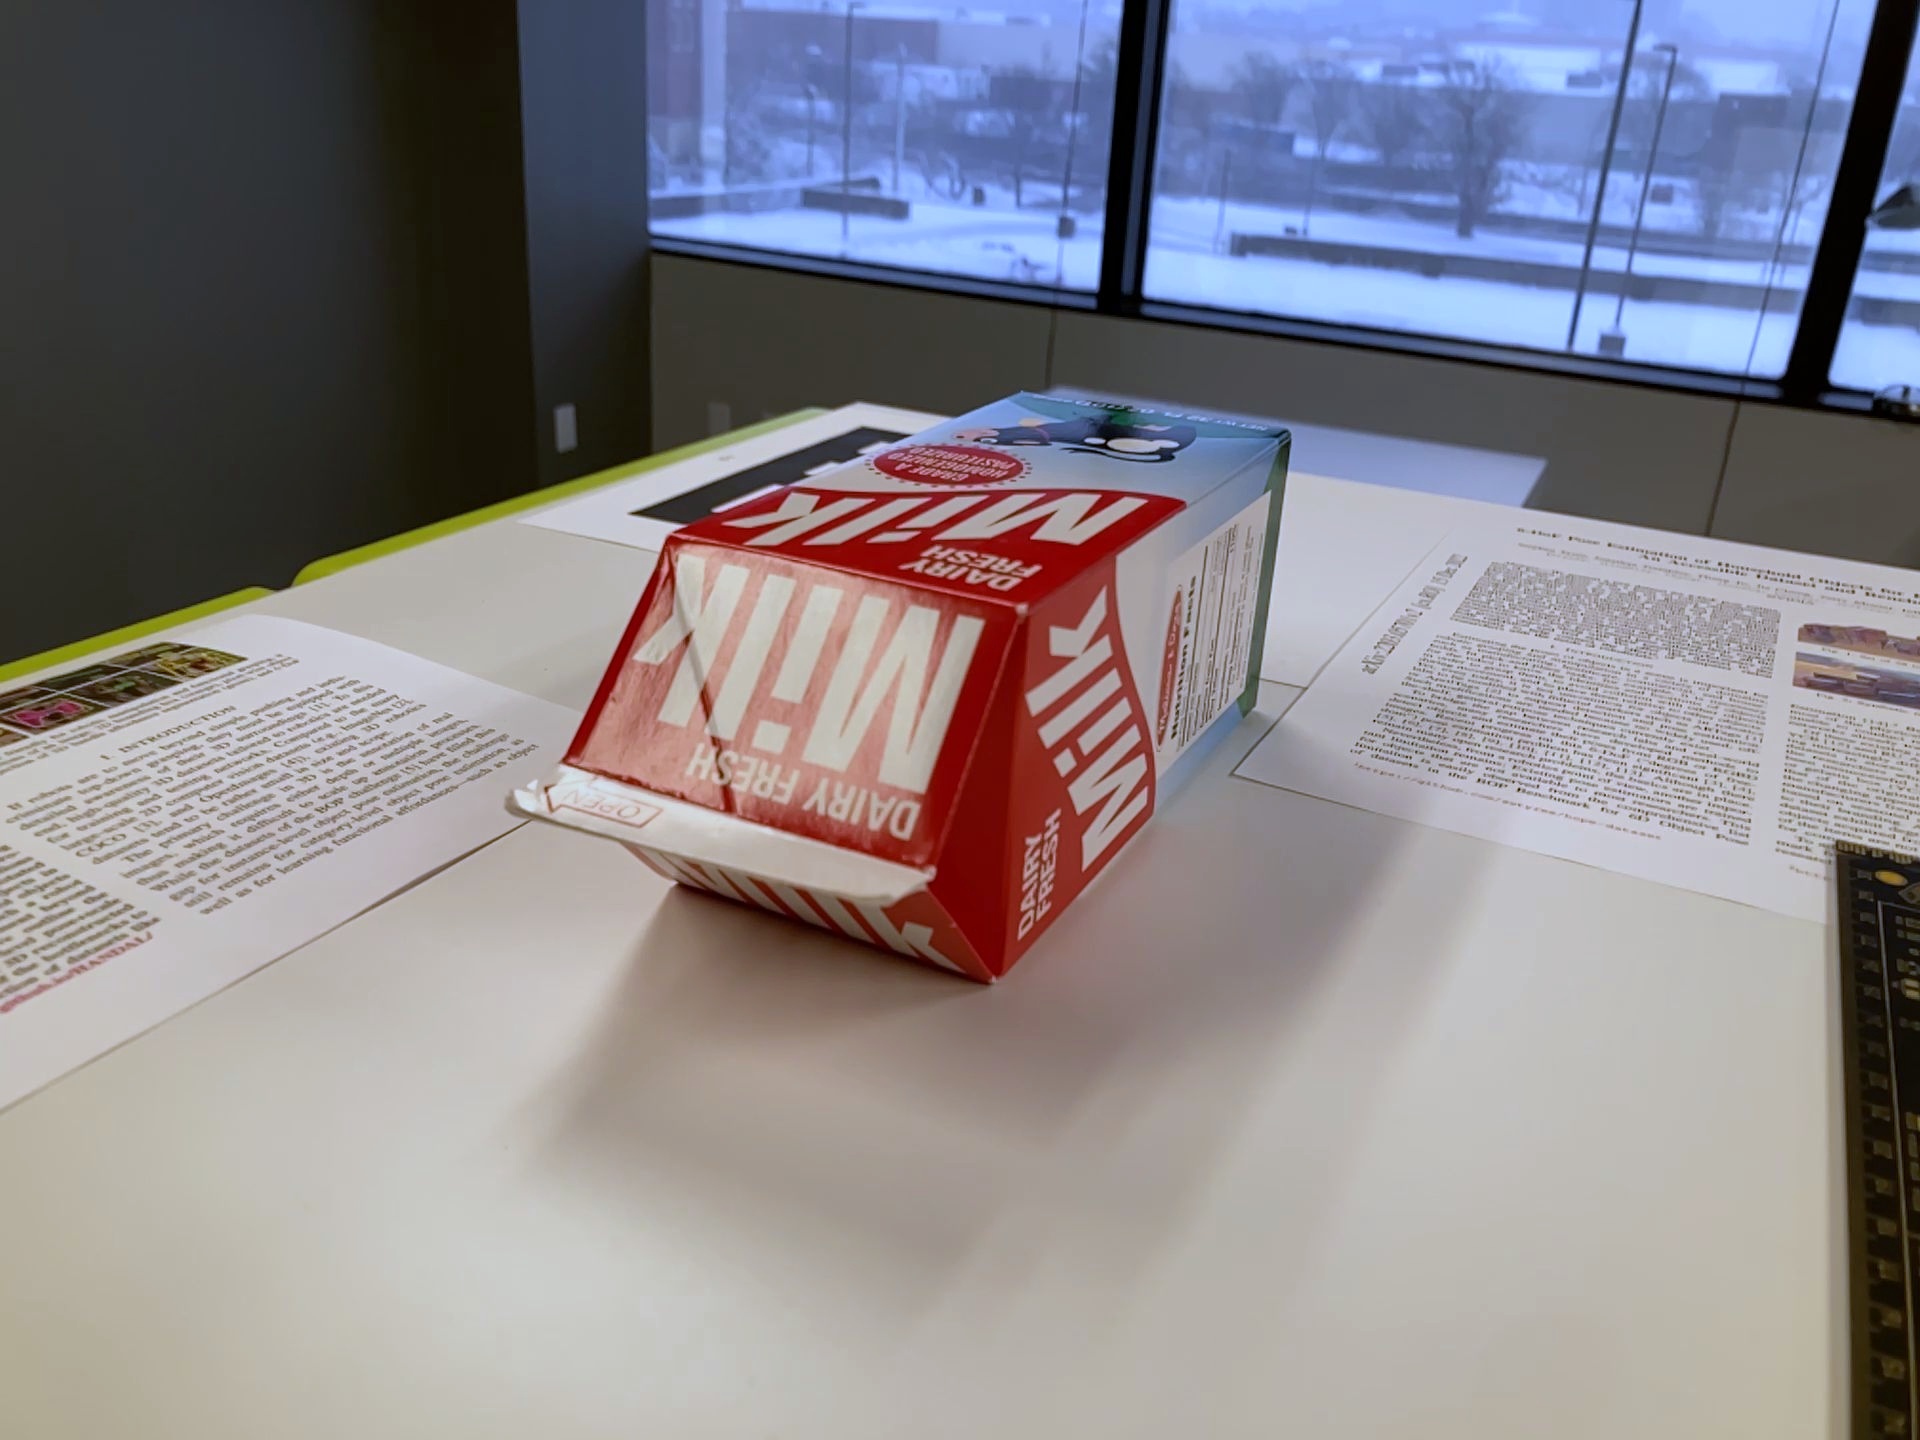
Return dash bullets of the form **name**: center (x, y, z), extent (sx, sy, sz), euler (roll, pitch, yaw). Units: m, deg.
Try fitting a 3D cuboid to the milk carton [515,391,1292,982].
- **milk carton**: center (0.002, -0.012, 0.319), extent (0.072, 0.073, 0.190), euler (14, 25, 23)
